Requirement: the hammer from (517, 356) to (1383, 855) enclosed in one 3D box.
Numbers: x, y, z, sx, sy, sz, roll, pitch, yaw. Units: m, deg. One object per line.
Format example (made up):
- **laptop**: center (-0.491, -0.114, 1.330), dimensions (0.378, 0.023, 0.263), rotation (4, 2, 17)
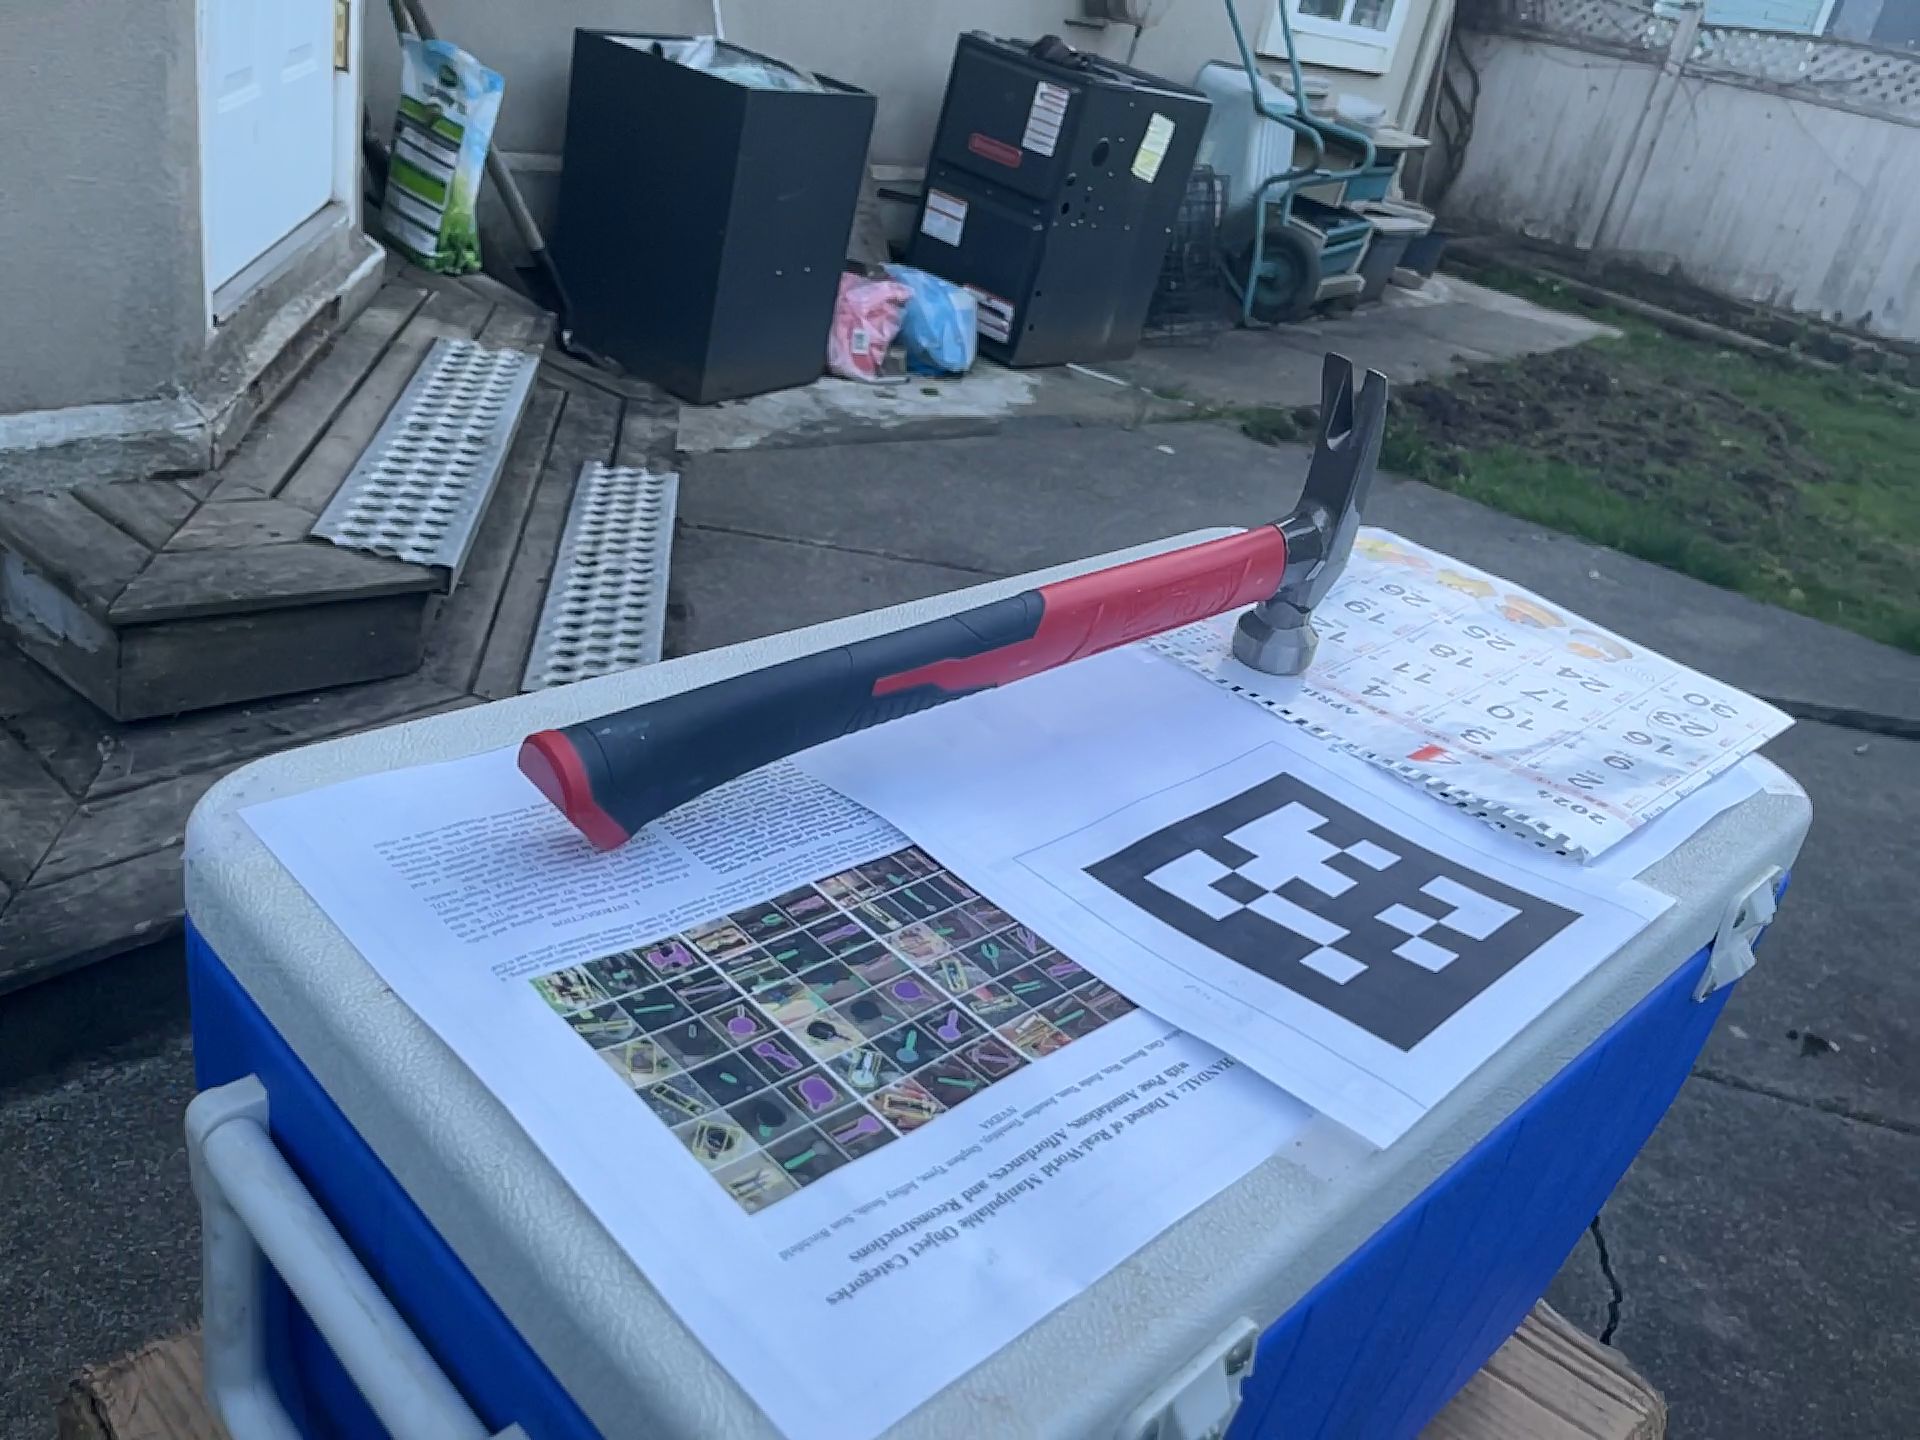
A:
- **hammer**: center (0.021, -0.043, 0.576), dimensions (0.386, 0.143, 0.038), rotation (-19, 40, -37)
